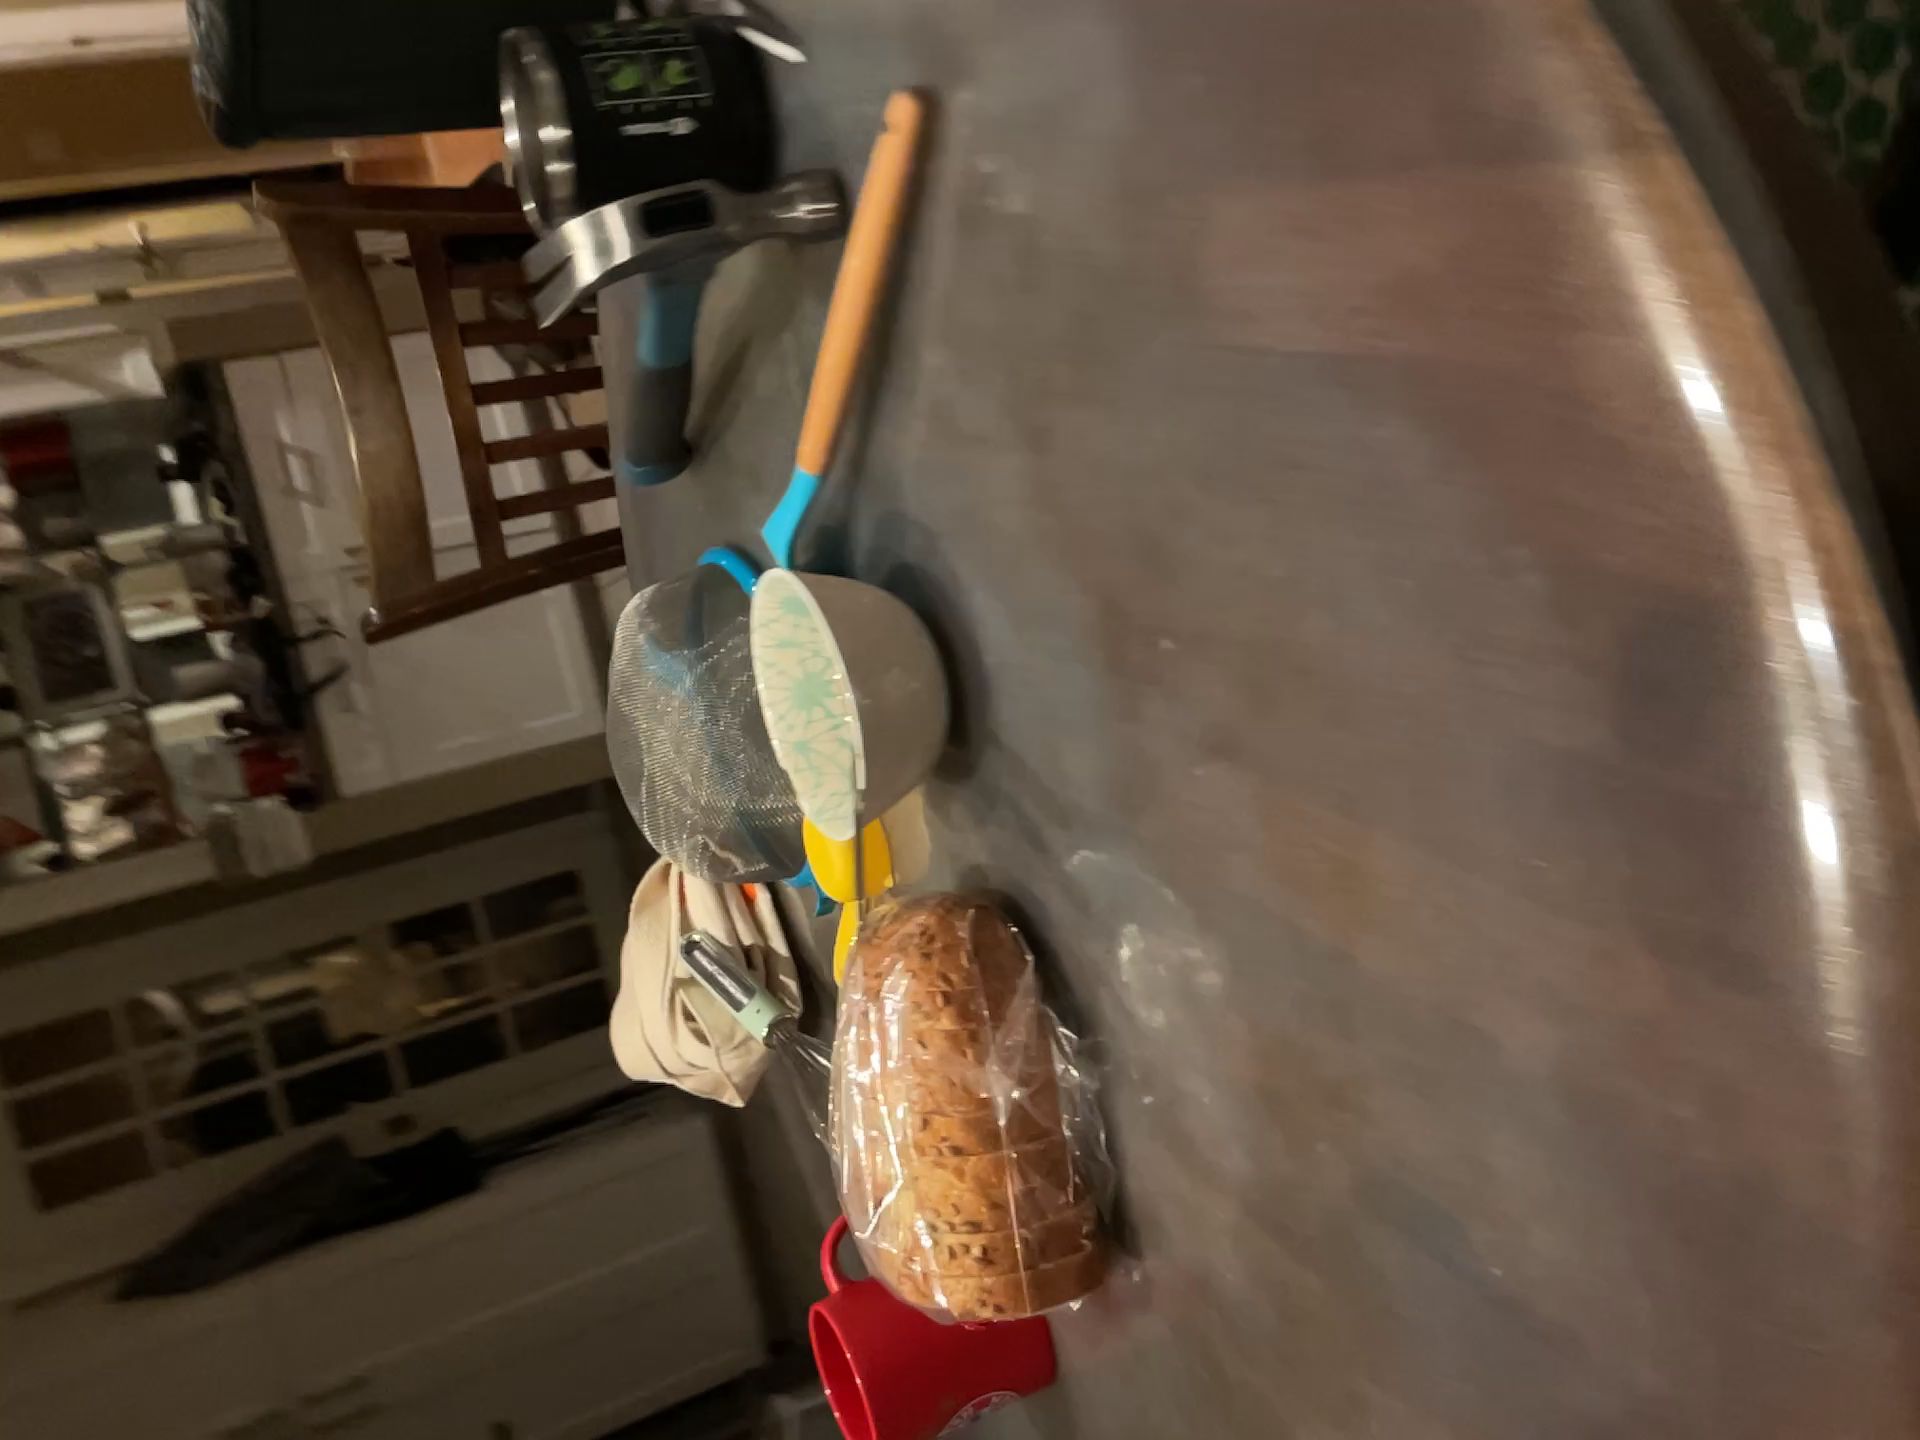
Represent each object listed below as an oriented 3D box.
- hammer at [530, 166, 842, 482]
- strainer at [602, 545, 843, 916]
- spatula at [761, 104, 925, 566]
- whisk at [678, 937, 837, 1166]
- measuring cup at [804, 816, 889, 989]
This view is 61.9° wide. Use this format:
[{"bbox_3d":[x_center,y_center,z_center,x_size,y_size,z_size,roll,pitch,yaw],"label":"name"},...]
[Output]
[{"bbox_3d":[-0.146,-0.184,0.813,0.331,0.128,0.033,144,112,-74],"label":"hammer"},{"bbox_3d":[-0.187,-0.005,0.997,0.340,0.095,0.211,23,124,56],"label":"strainer"},{"bbox_3d":[-0.051,-0.132,0.713,0.082,0.044,0.317,63,150,28],"label":"spatula"},{"bbox_3d":[-0.105,0.191,0.951,0.246,0.058,0.059,31,162,47],"label":"whisk"},{"bbox_3d":[-0.069,0.102,0.876,0.062,0.029,0.156,57,149,37],"label":"measuring cup"}]
